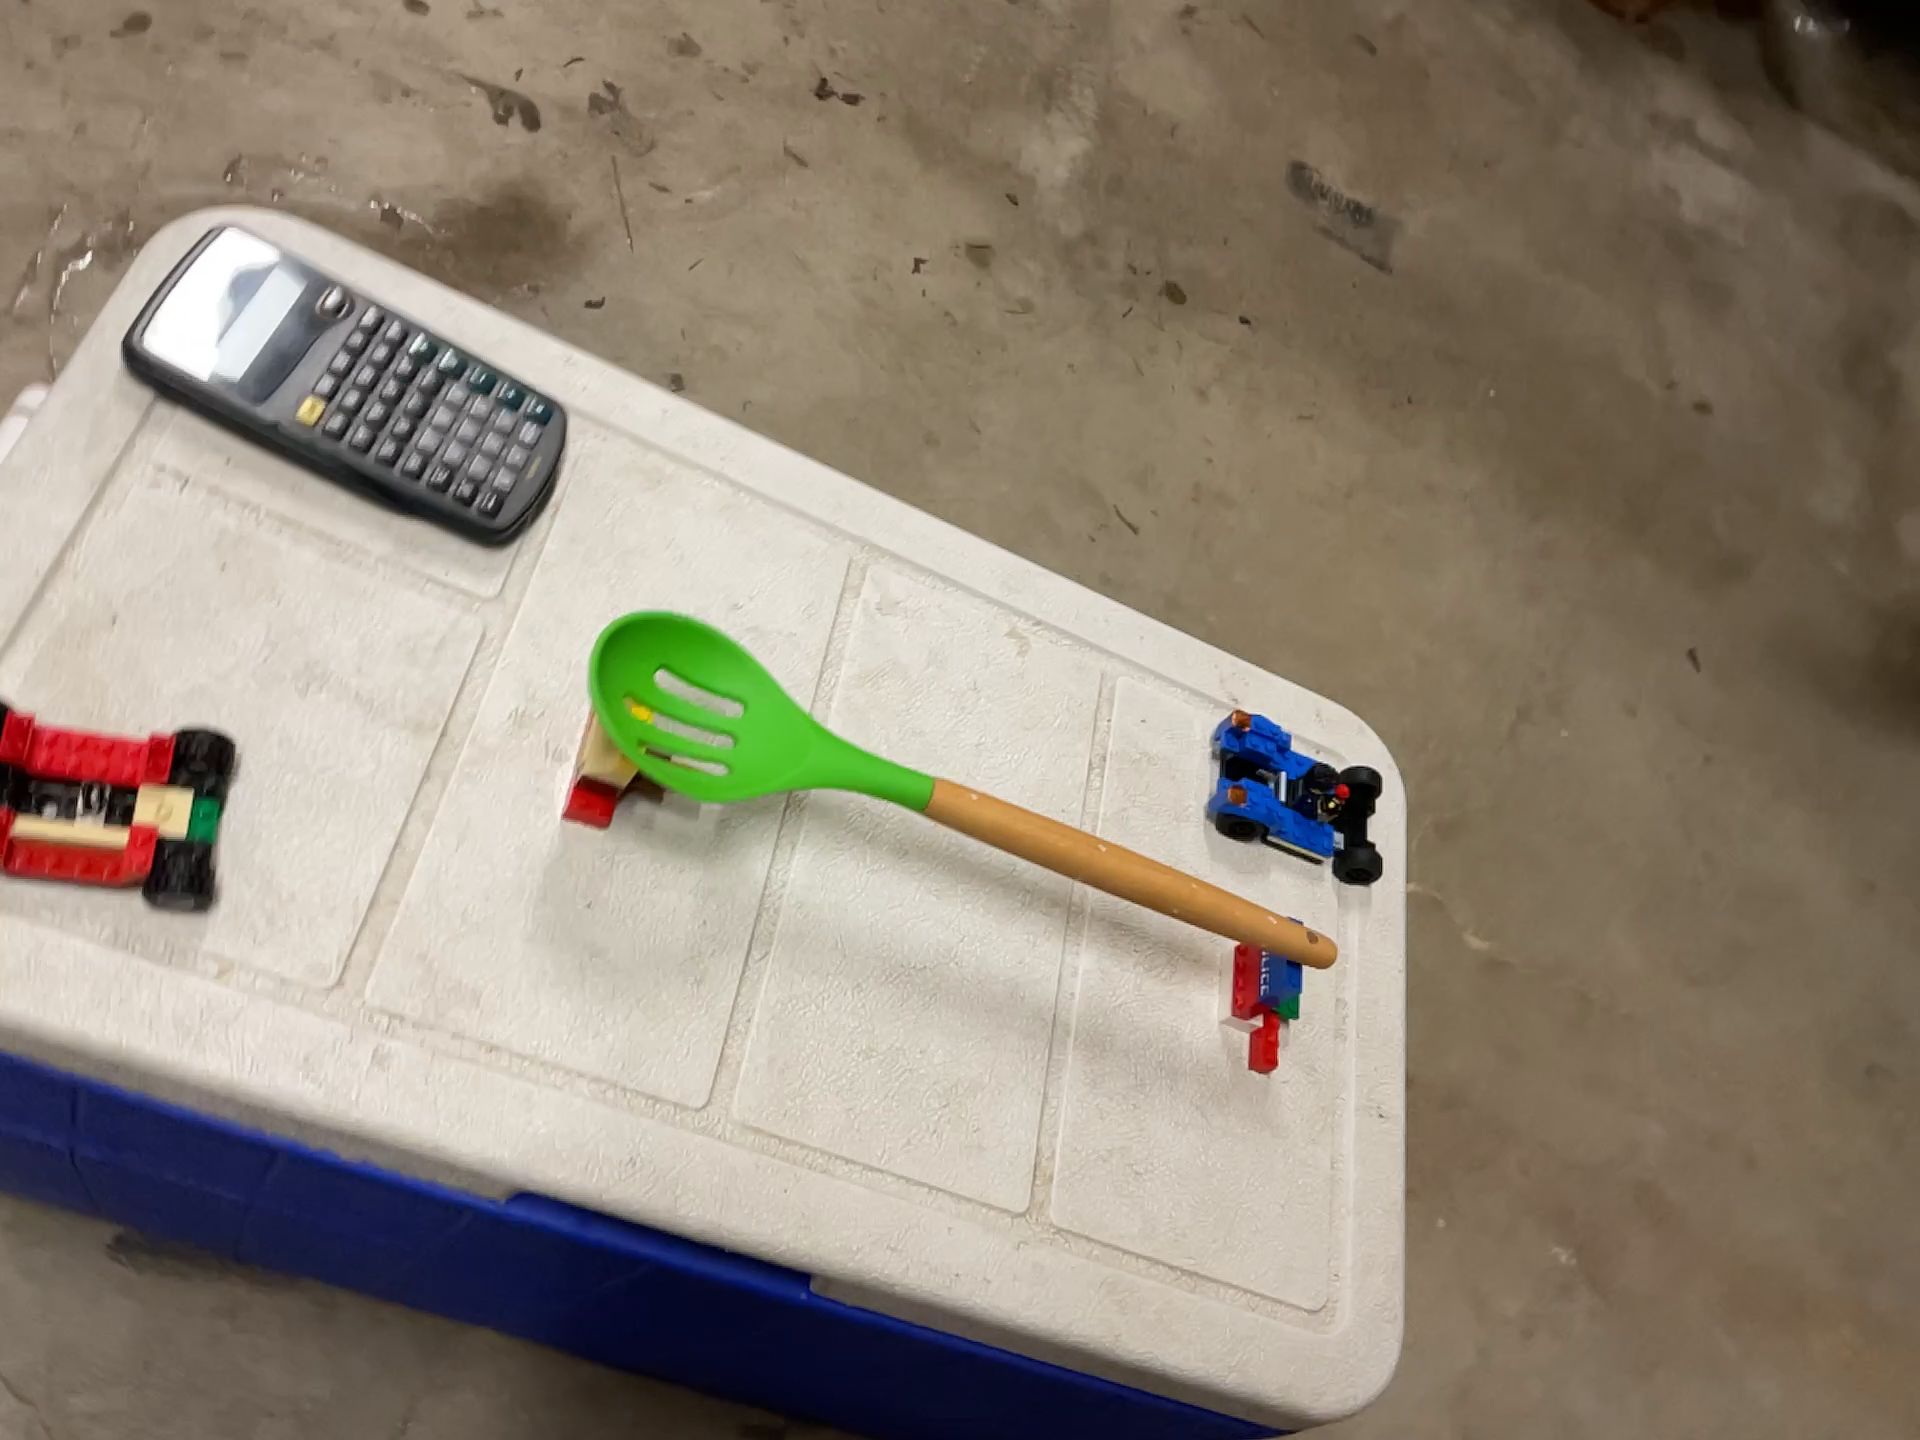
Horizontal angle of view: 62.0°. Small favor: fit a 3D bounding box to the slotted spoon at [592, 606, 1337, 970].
[{"bbox_3d":[0.010,0.038,0.590,0.314,0.031,0.070,23,53,-19],"label":"slotted spoon"}]
